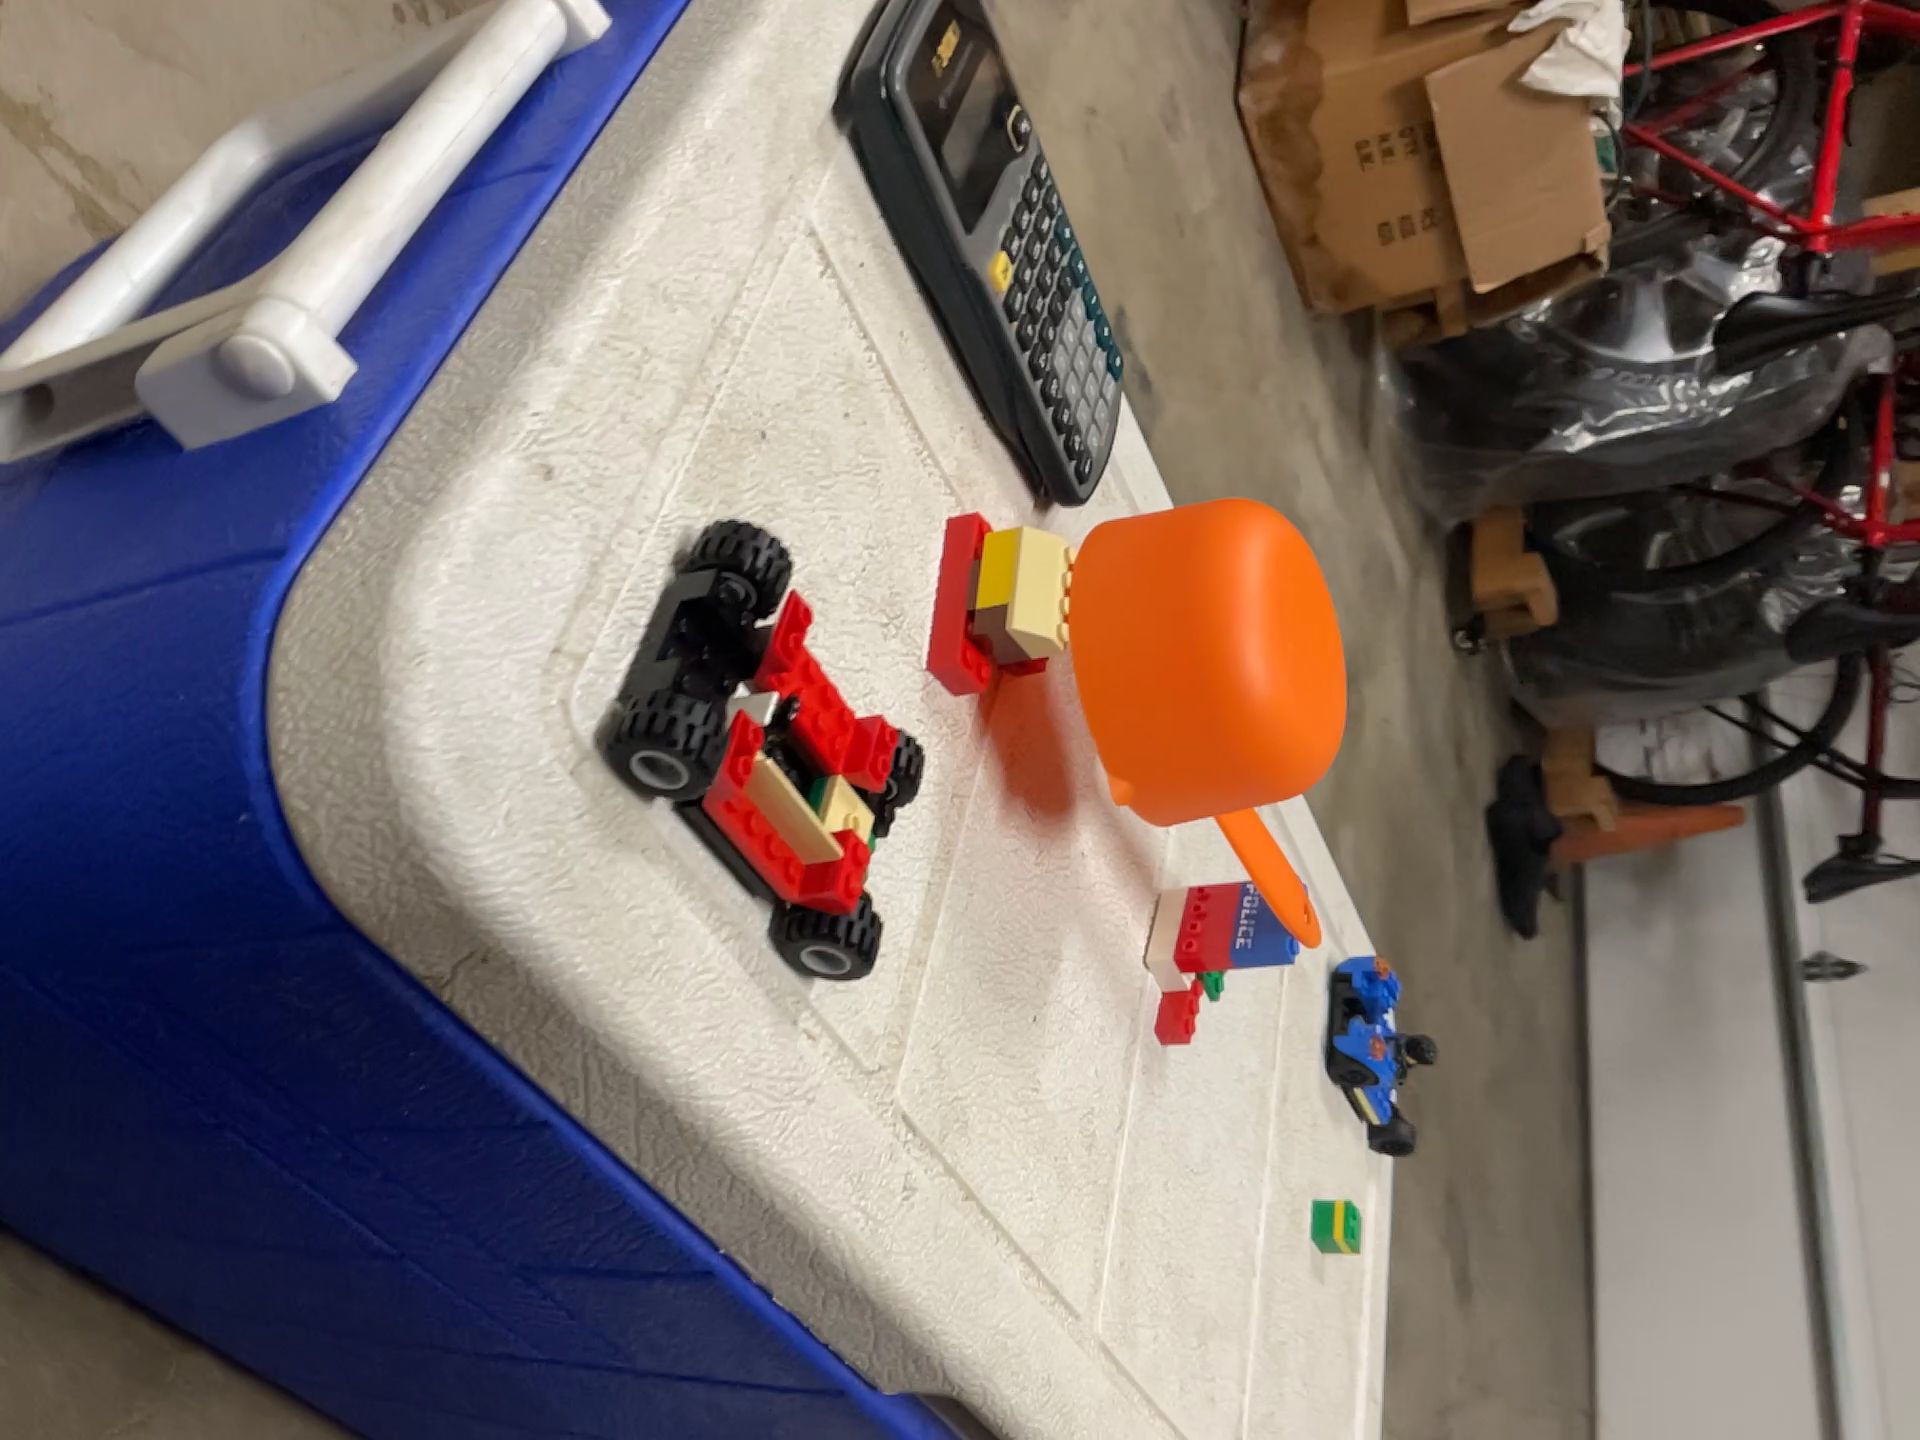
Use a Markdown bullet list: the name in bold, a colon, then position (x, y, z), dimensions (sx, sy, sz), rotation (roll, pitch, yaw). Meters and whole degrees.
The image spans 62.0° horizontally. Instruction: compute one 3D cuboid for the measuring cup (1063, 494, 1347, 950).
- **measuring cup**: position (0.091, 0.010, 0.457), dimensions (0.173, 0.052, 0.095), rotation (53, 39, -34)
